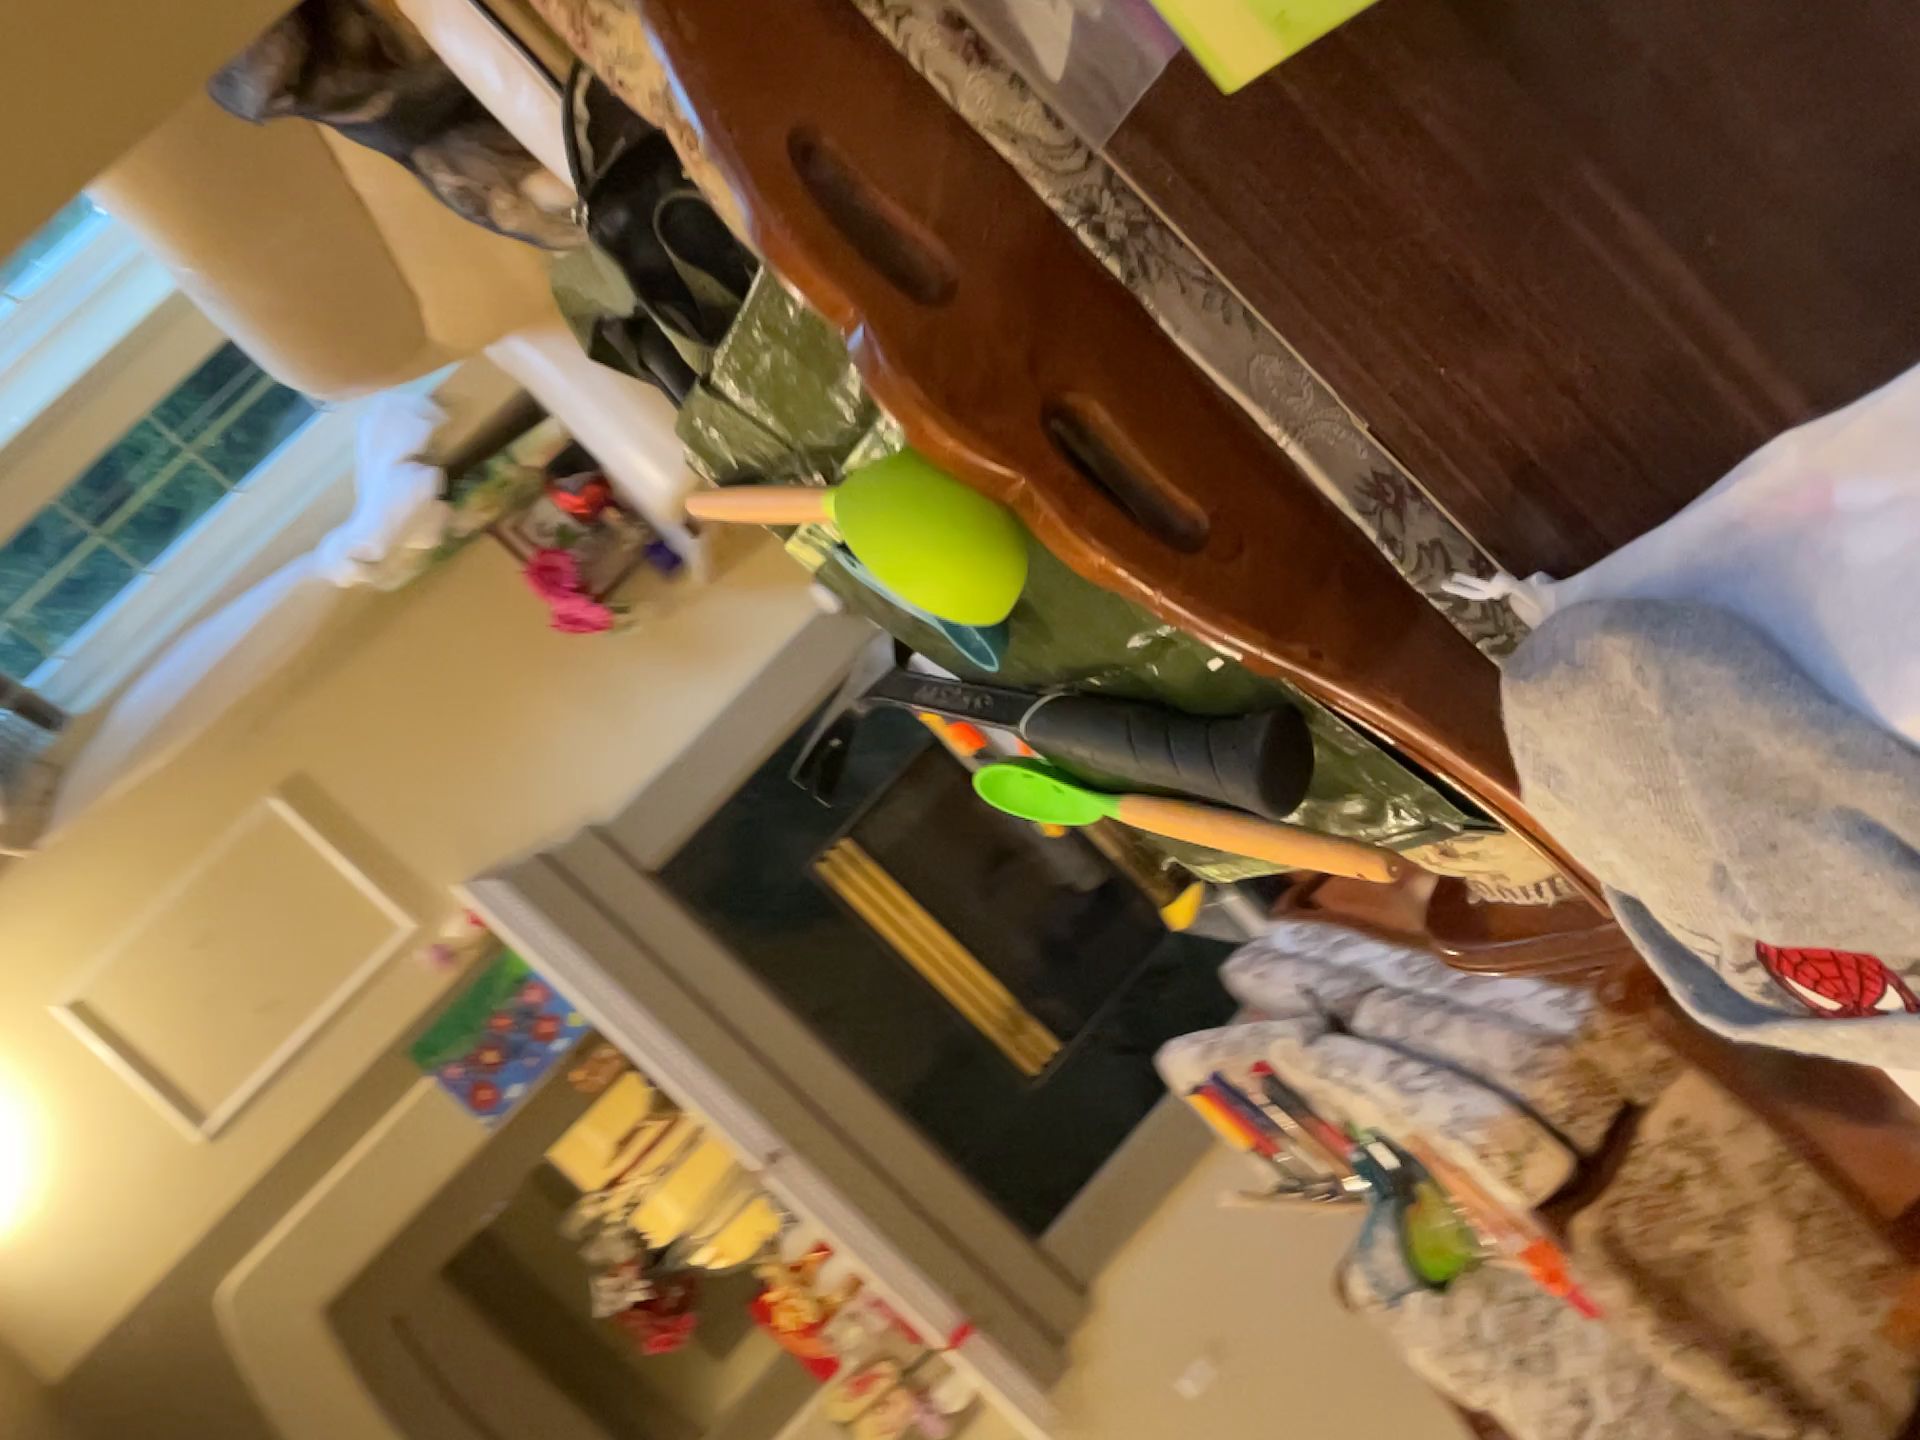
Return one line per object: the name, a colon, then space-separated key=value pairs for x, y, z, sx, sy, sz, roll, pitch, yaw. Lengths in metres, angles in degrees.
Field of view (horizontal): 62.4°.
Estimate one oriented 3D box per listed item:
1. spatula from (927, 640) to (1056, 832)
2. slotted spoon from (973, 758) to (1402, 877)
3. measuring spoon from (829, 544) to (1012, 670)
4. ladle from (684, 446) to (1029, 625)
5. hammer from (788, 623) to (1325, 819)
spatula: x=-0.035 y=-0.058 z=1.033 sx=0.322 sy=0.041 sz=0.081 roll=47 pitch=180 yaw=6
slotted spoon: x=0.099 y=0.047 z=0.772 sx=0.070 sy=0.031 sz=0.314 roll=32 pitch=169 yaw=-26
measuring spoon: x=-0.018 y=-0.060 z=0.710 sx=0.129 sy=0.021 sz=0.042 roll=35 pitch=165 yaw=44
ladle: x=-0.068 y=-0.084 z=0.695 sx=0.078 sy=0.062 sz=0.320 roll=20 pitch=177 yaw=-29
hammer: x=0.031 y=0.000 z=0.772 sx=0.036 sy=0.149 sz=0.409 roll=38 pitch=168 yaw=-26
